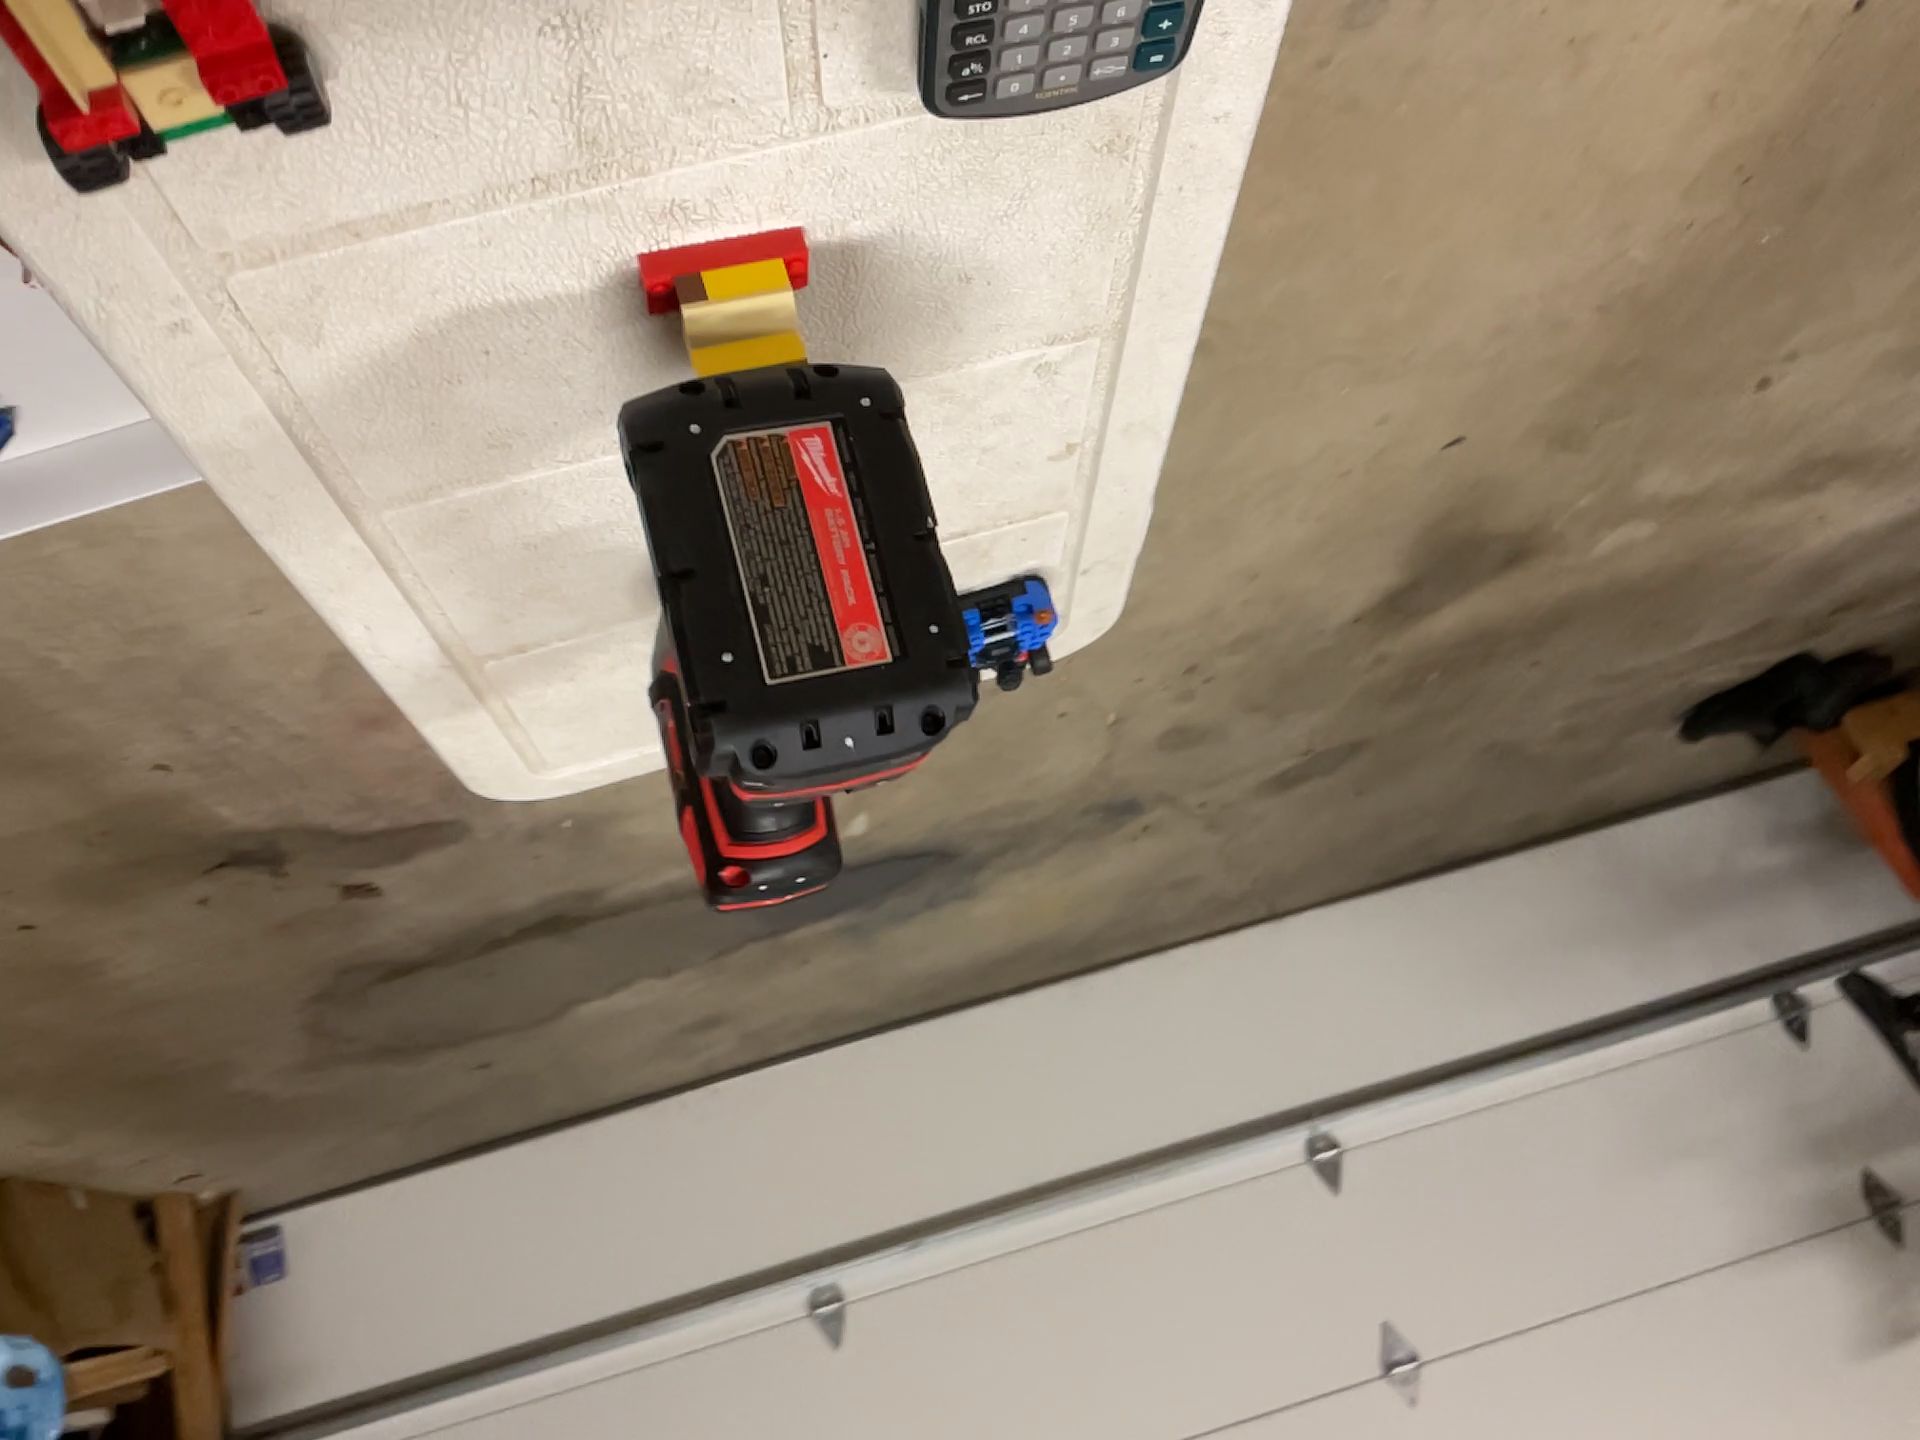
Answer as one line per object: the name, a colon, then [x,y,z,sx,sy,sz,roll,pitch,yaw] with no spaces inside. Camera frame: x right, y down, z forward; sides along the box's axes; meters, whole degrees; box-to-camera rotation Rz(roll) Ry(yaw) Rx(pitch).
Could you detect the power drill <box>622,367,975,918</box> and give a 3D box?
power drill: [-0.068,-0.021,0.533,0.078,0.143,0.219,-11,167,-16]
